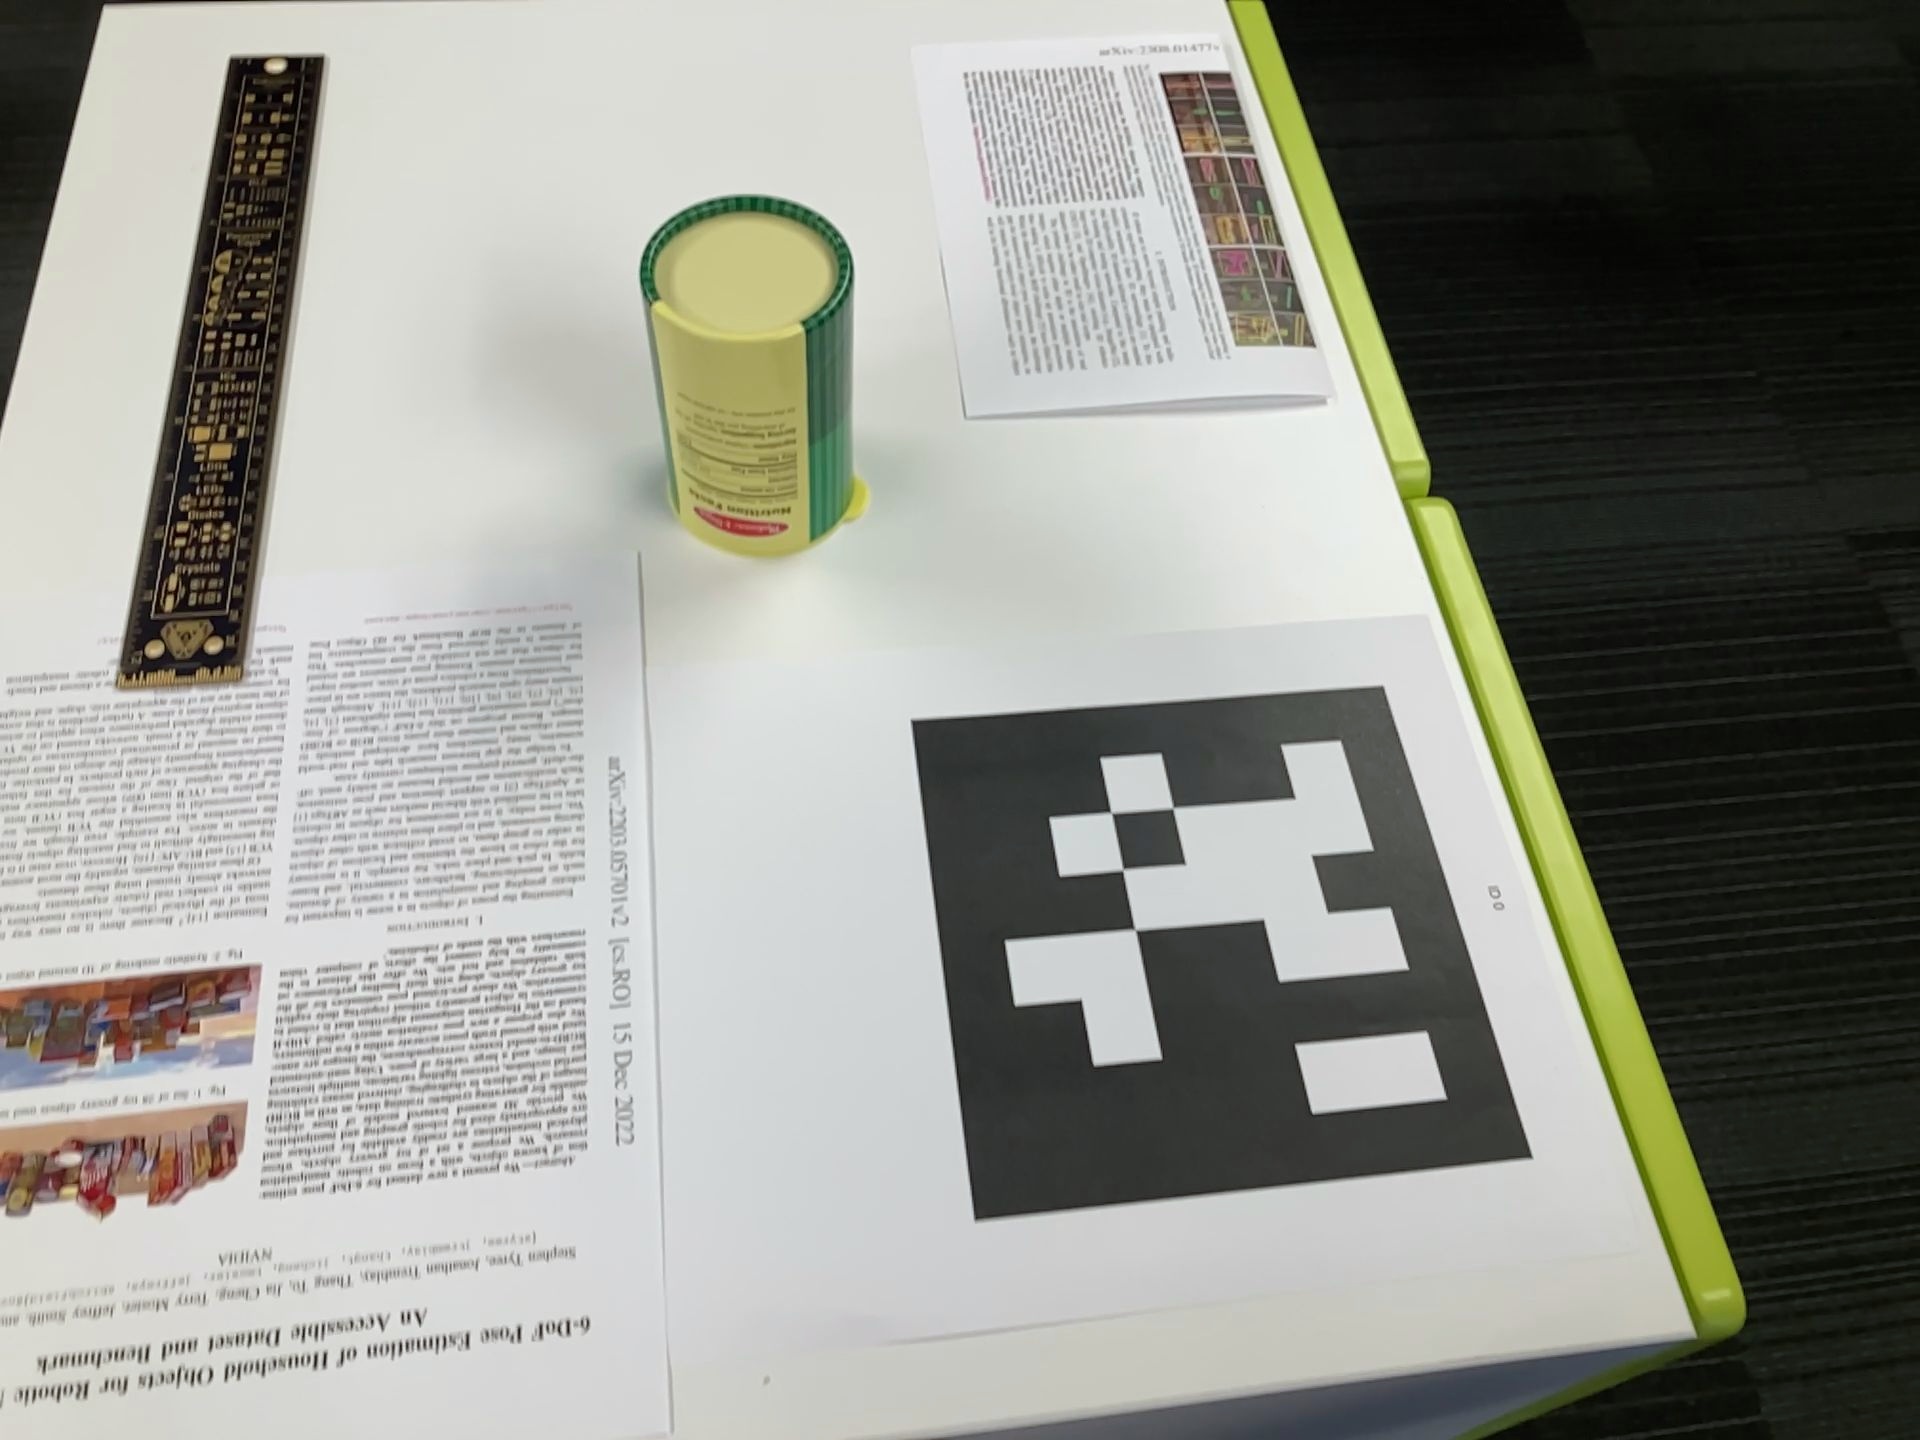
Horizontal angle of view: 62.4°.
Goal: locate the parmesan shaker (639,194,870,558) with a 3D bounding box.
[{"bbox_3d":[-0.064,-0.111,0.521,0.071,0.103,0.071,2,58,-3],"label":"parmesan shaker"}]
